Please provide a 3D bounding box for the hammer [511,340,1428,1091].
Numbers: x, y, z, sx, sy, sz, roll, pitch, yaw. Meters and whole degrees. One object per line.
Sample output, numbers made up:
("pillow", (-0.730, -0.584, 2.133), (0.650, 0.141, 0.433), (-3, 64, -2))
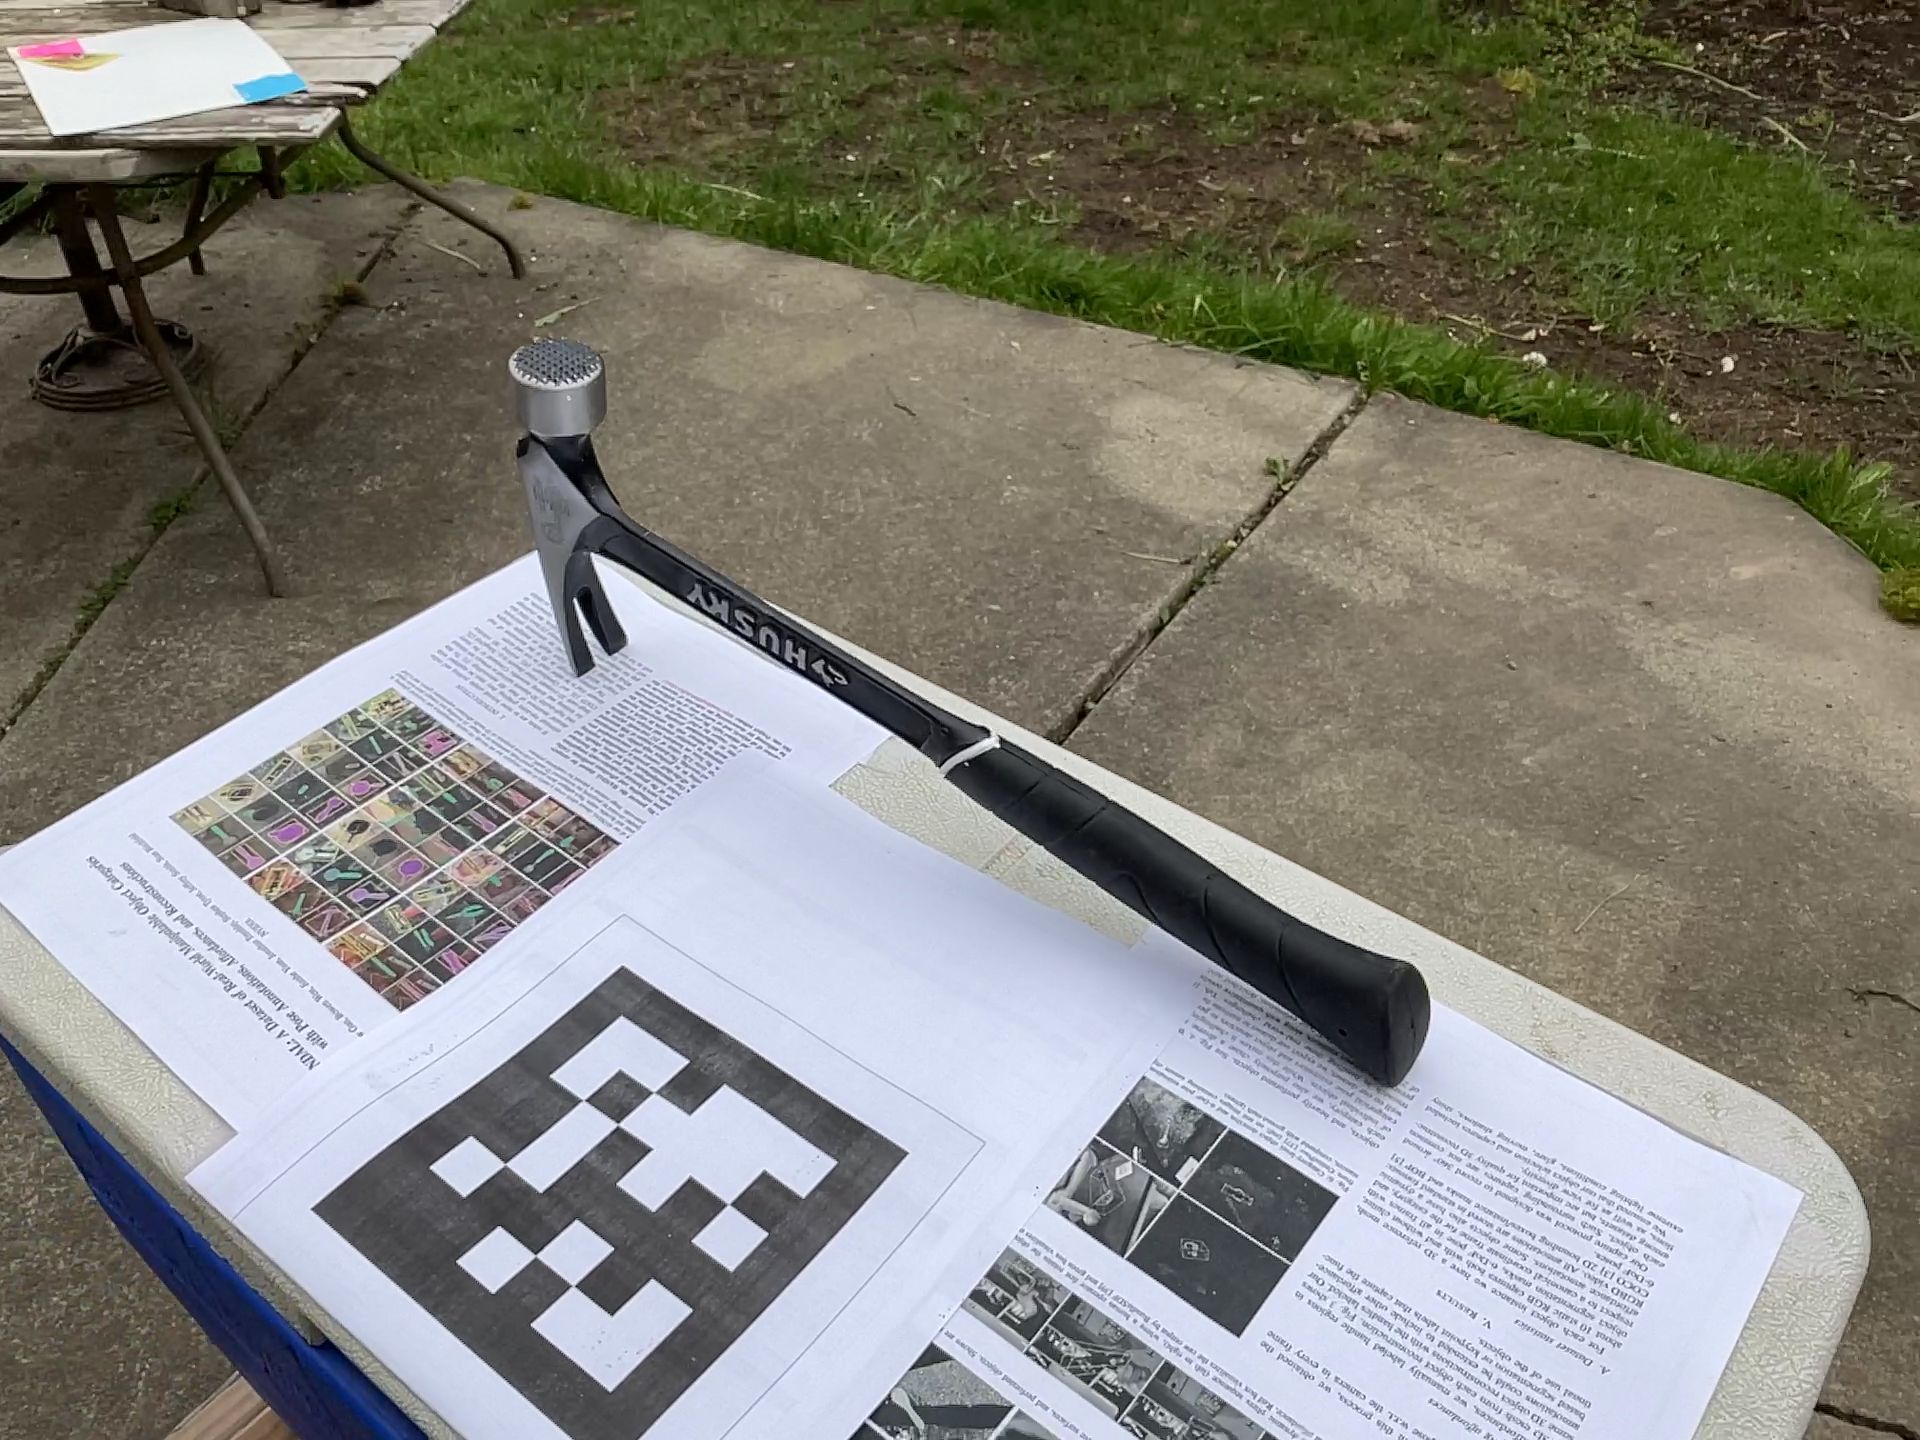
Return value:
("hammer", (-0.014, 0.008, 0.592), (0.409, 0.149, 0.036), (32, 49, 21))
